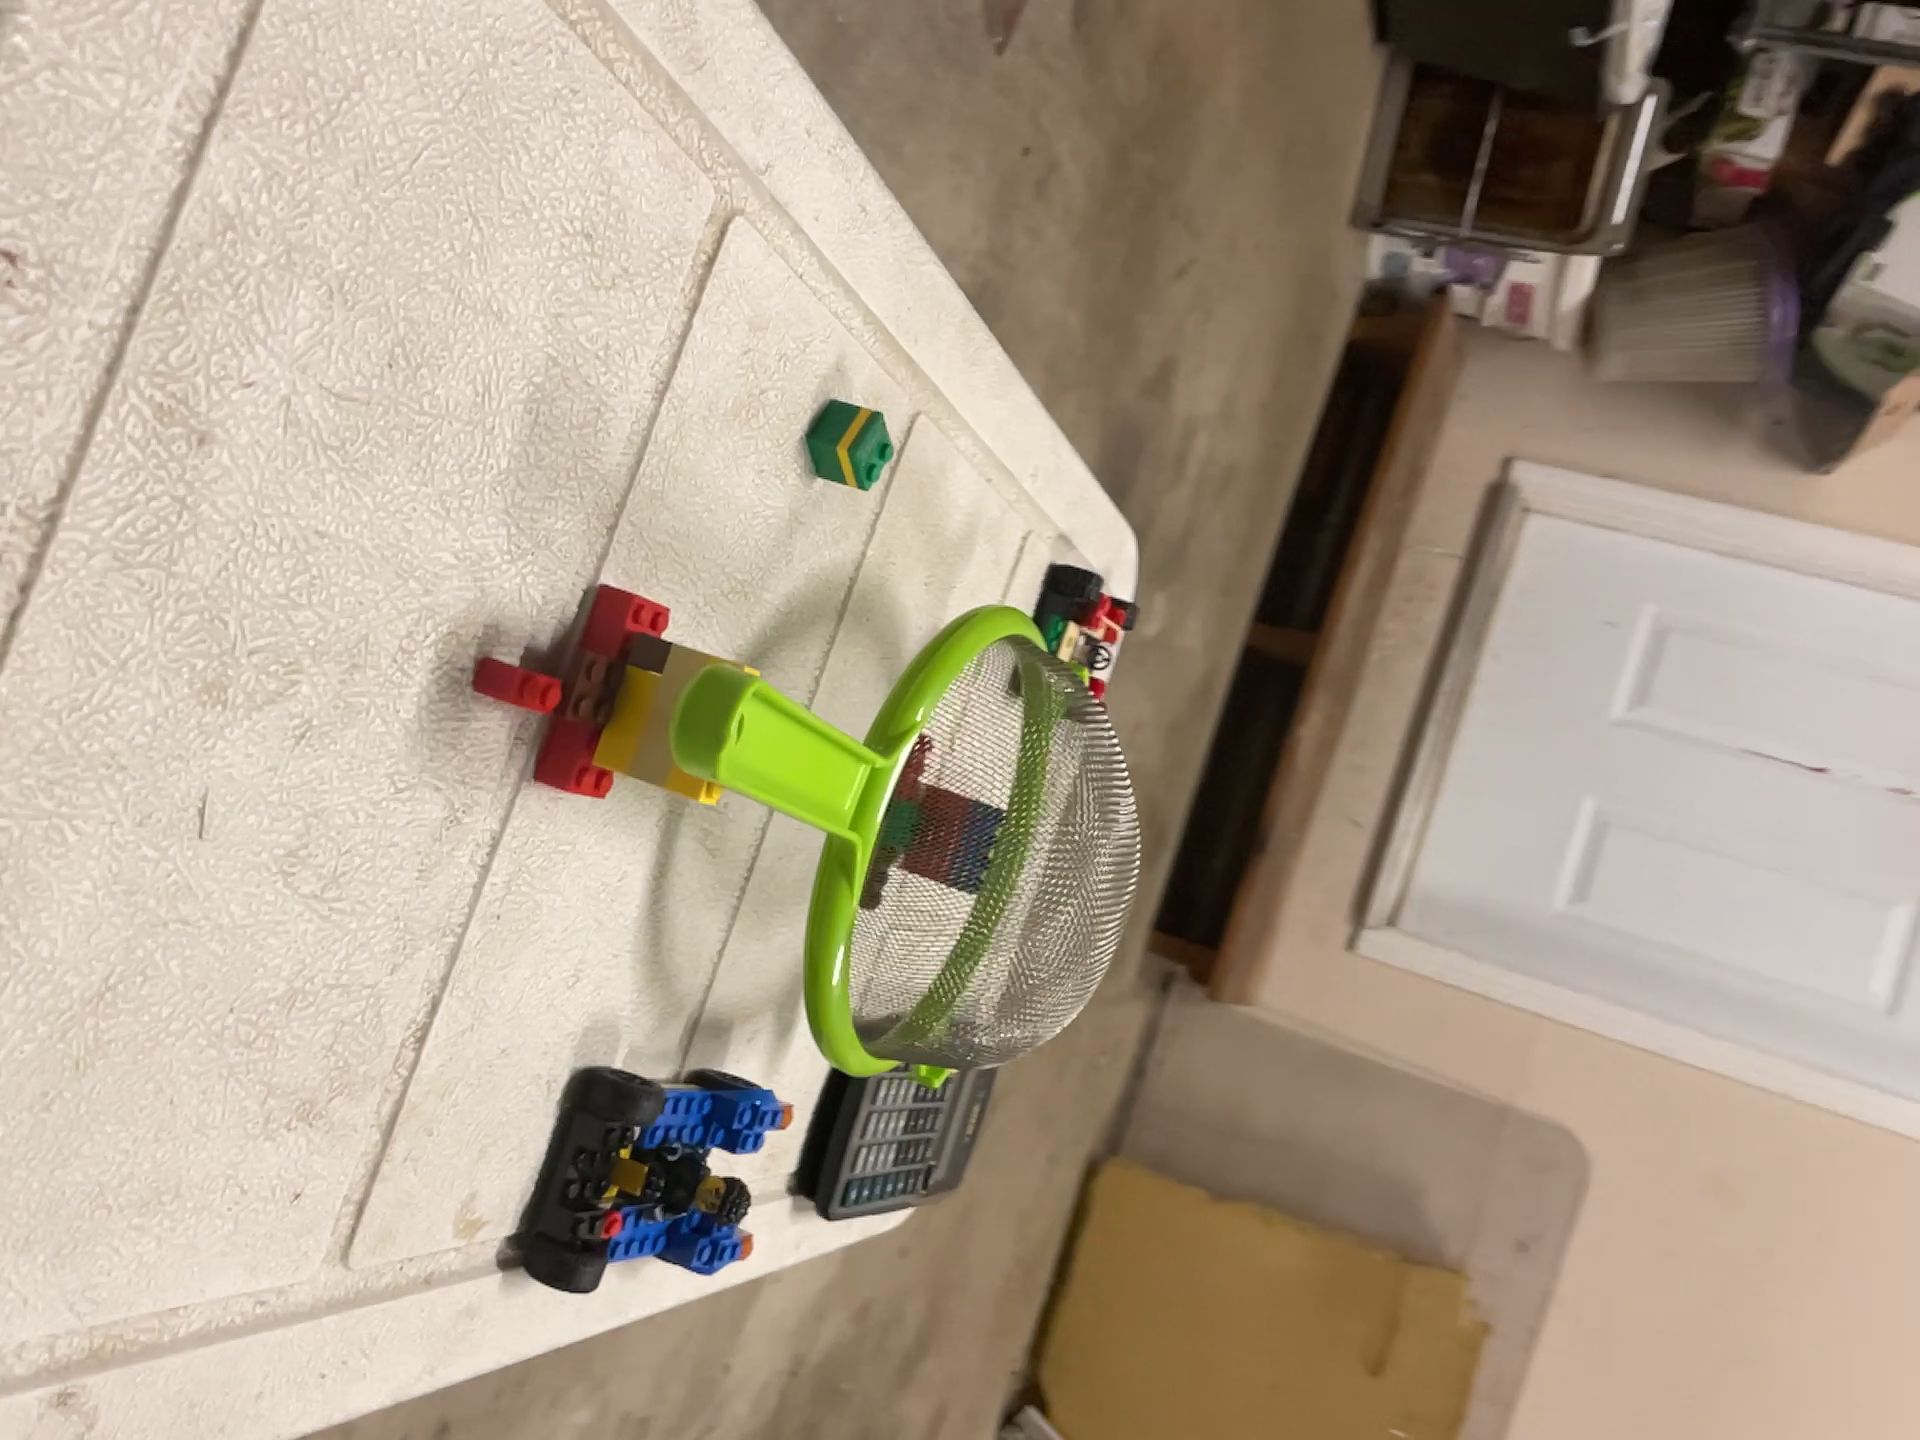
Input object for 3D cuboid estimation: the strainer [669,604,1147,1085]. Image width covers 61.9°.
[{"bbox_3d":[0.003,0.034,0.434,0.151,0.069,0.256,-68,161,-6],"label":"strainer"}]
